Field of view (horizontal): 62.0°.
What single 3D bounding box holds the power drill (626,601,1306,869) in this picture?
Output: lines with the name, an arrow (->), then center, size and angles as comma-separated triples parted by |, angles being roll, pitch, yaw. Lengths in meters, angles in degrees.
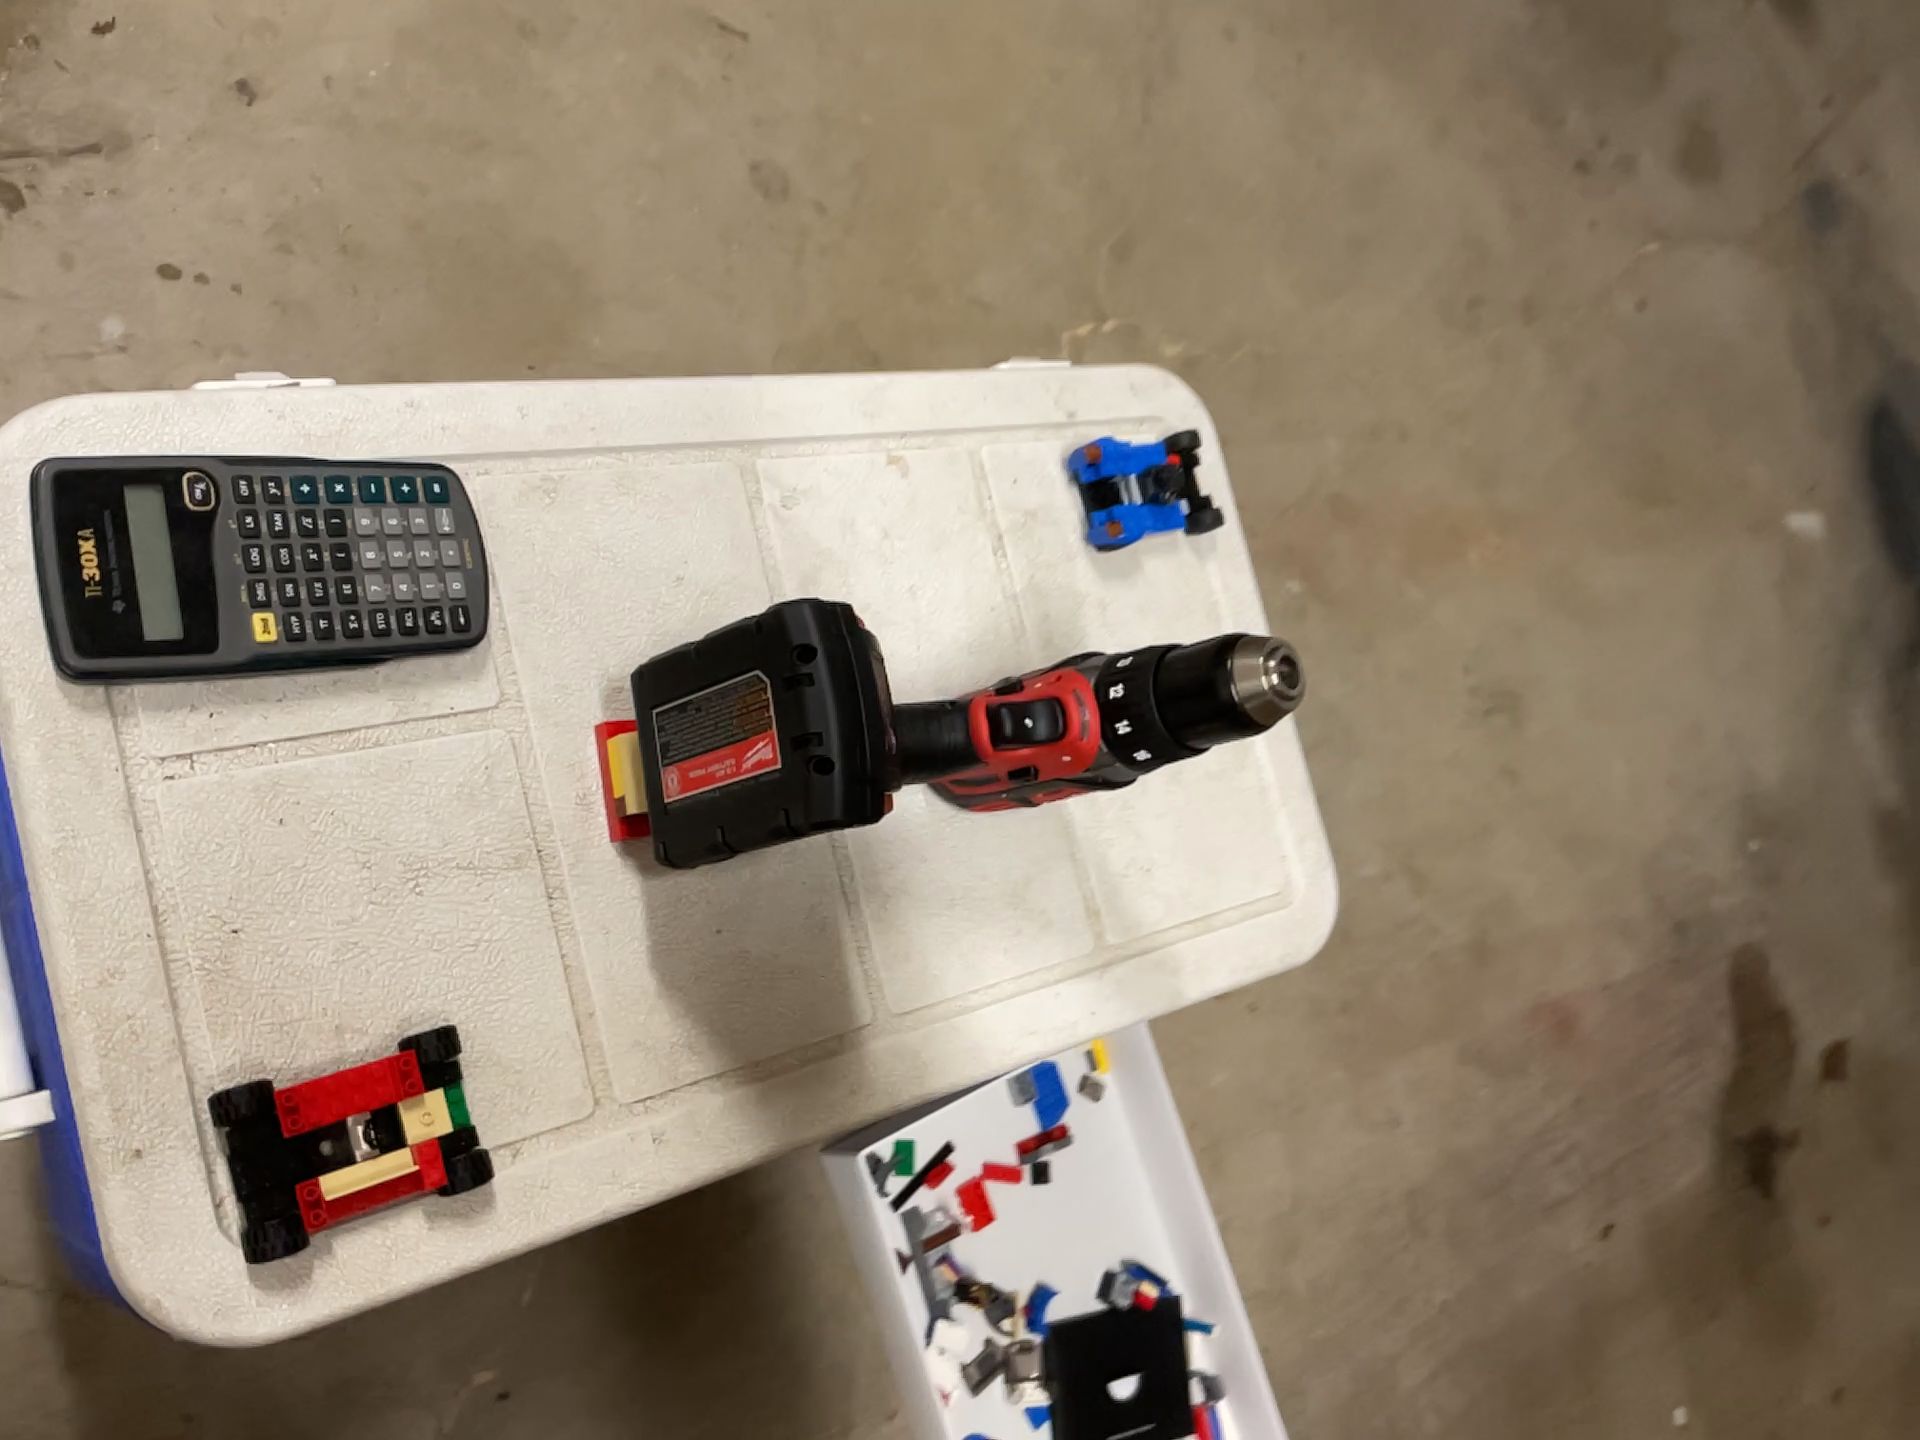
power drill -> 0.006, 0.001, 0.628 | 0.227, 0.187, 0.080 | -2, 80, -45
